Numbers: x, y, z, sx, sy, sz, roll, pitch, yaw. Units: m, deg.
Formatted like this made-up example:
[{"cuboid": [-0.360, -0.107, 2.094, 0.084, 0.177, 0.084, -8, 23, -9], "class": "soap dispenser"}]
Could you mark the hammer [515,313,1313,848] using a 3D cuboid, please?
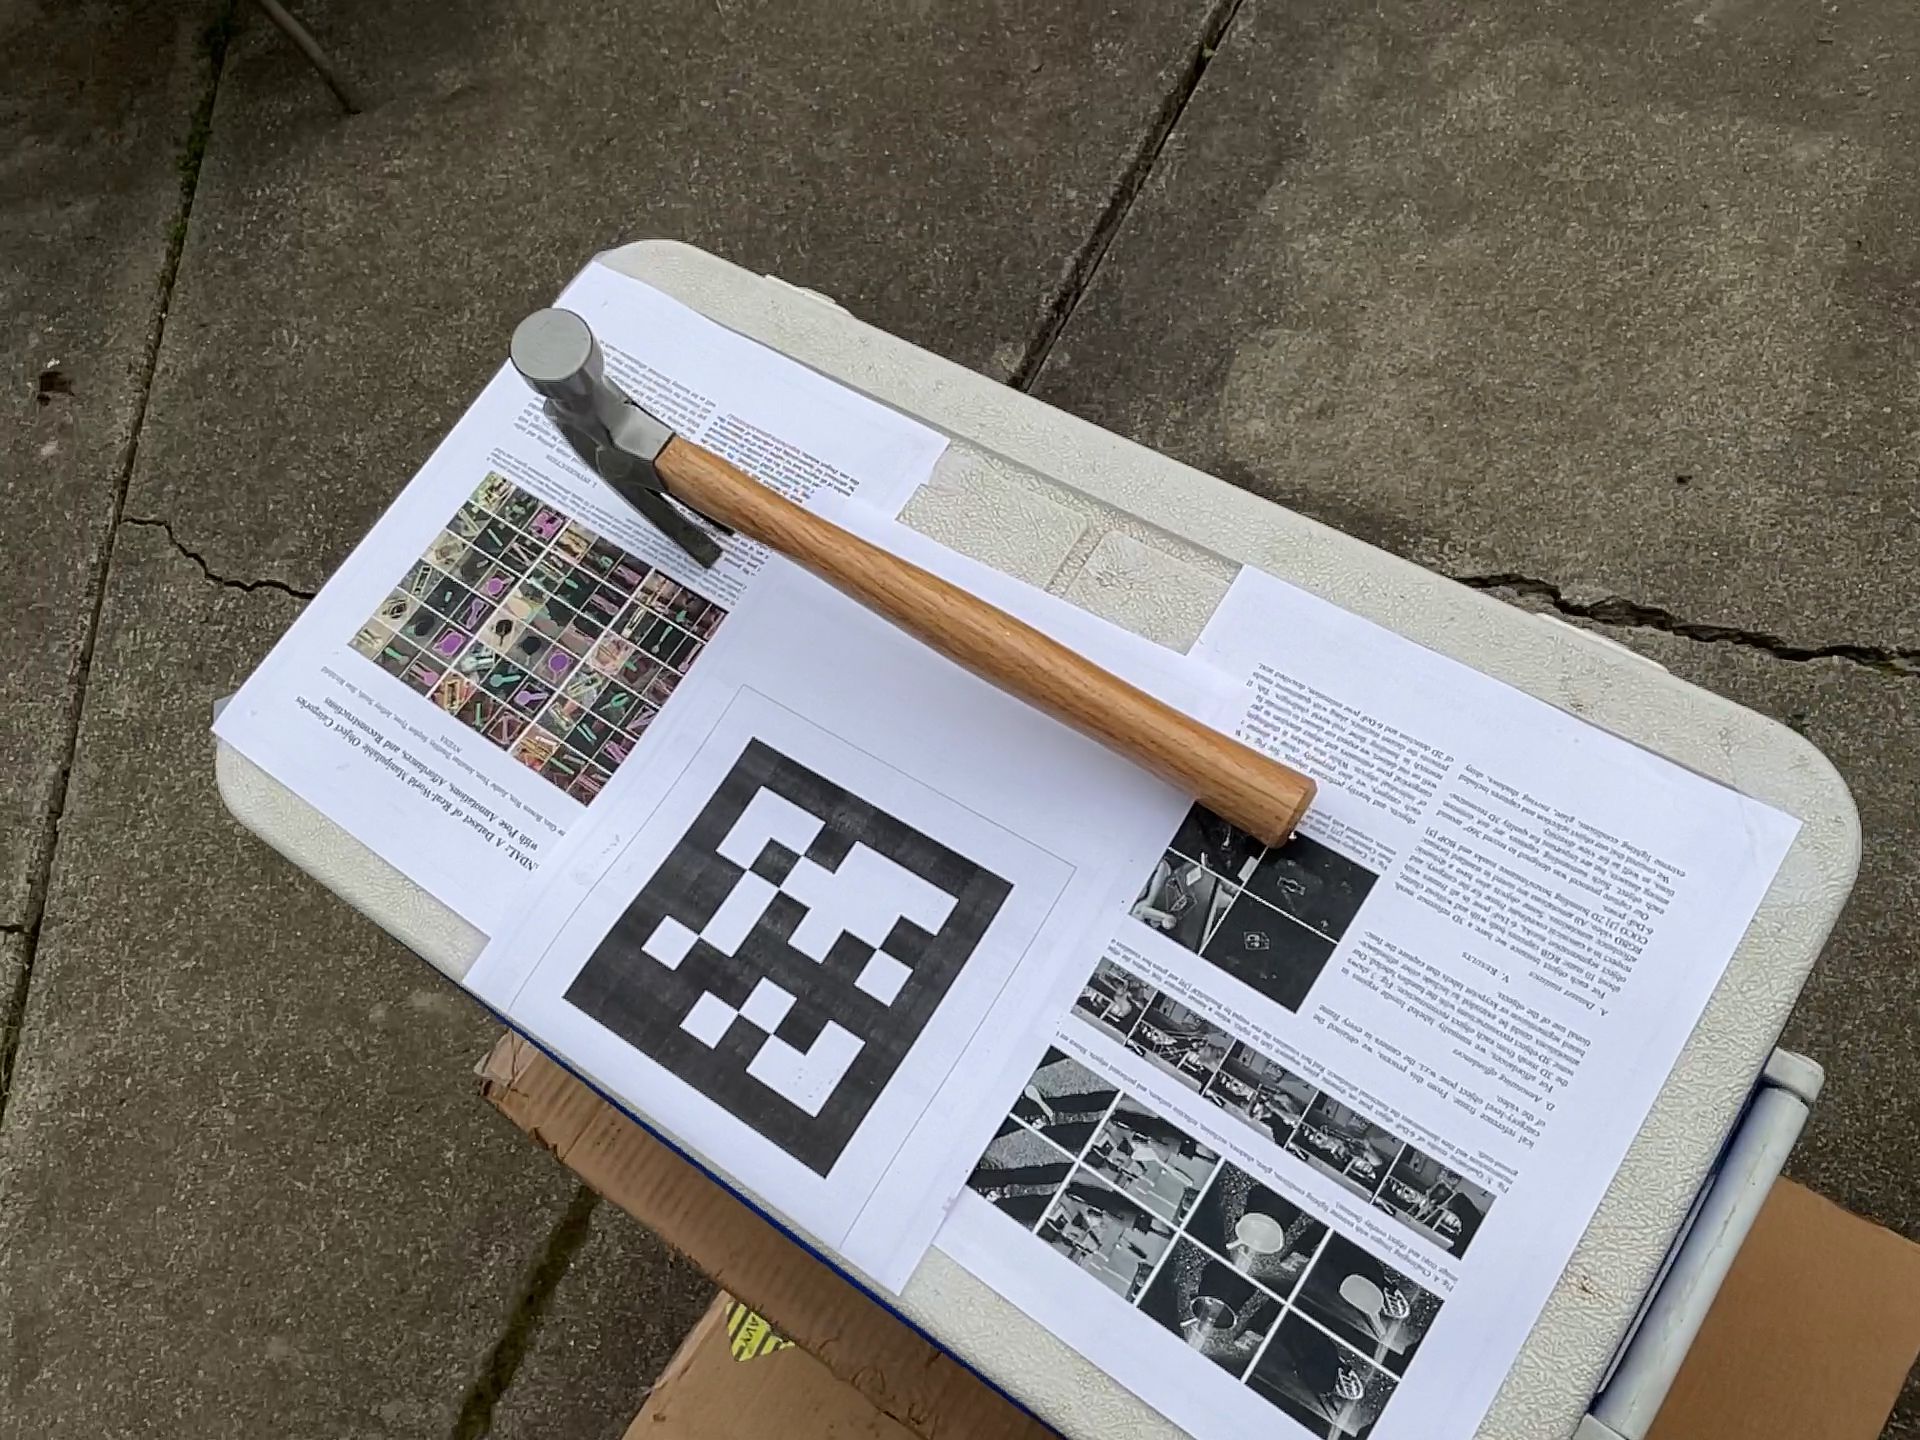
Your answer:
[{"cuboid": [-0.018, -0.045, 0.615, 0.331, 0.130, 0.031, 30, 78, 12], "class": "hammer"}]
